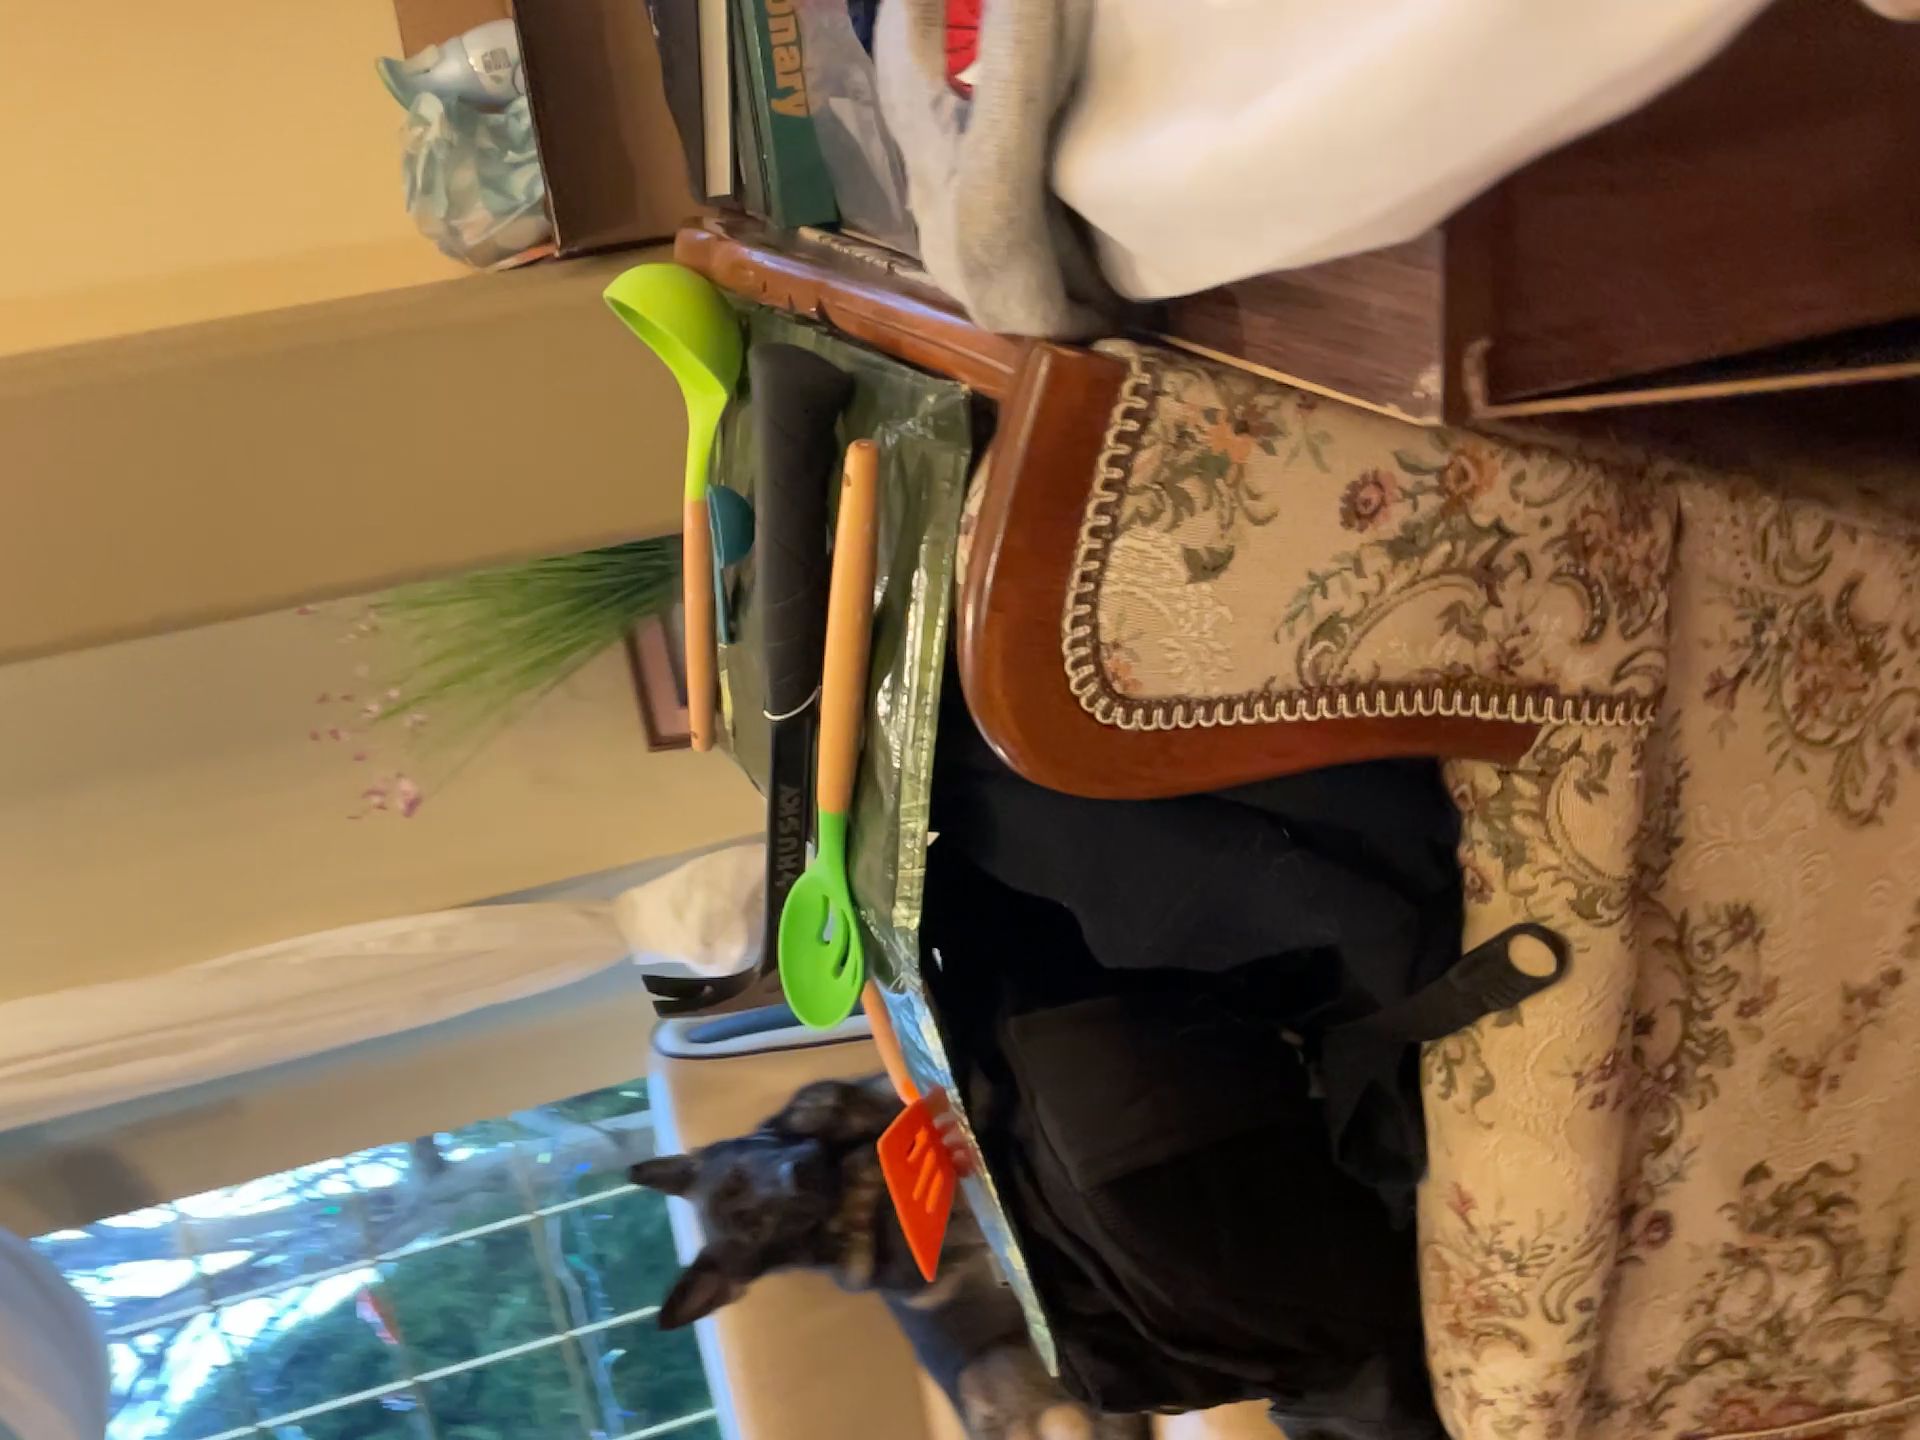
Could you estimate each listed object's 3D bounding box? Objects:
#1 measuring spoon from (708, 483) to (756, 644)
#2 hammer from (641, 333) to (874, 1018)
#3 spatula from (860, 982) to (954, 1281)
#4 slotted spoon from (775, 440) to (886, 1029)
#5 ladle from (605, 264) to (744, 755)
[{"bbox_3d":[-0.117,-0.078,0.831,0.128,0.021,0.042,102,154,-60],"label":"measuring spoon"},{"bbox_3d":[-0.088,0.001,0.778,0.036,0.149,0.408,53,148,42],"label":"hammer"},{"bbox_3d":[-0.042,0.214,0.946,0.323,0.041,0.081,-137,28,-74],"label":"spatula"},{"bbox_3d":[-0.053,0.018,0.705,0.070,0.031,0.313,46,141,39],"label":"slotted spoon"},{"bbox_3d":[-0.152,-0.099,0.872,0.078,0.062,0.320,37,139,31],"label":"ladle"}]
